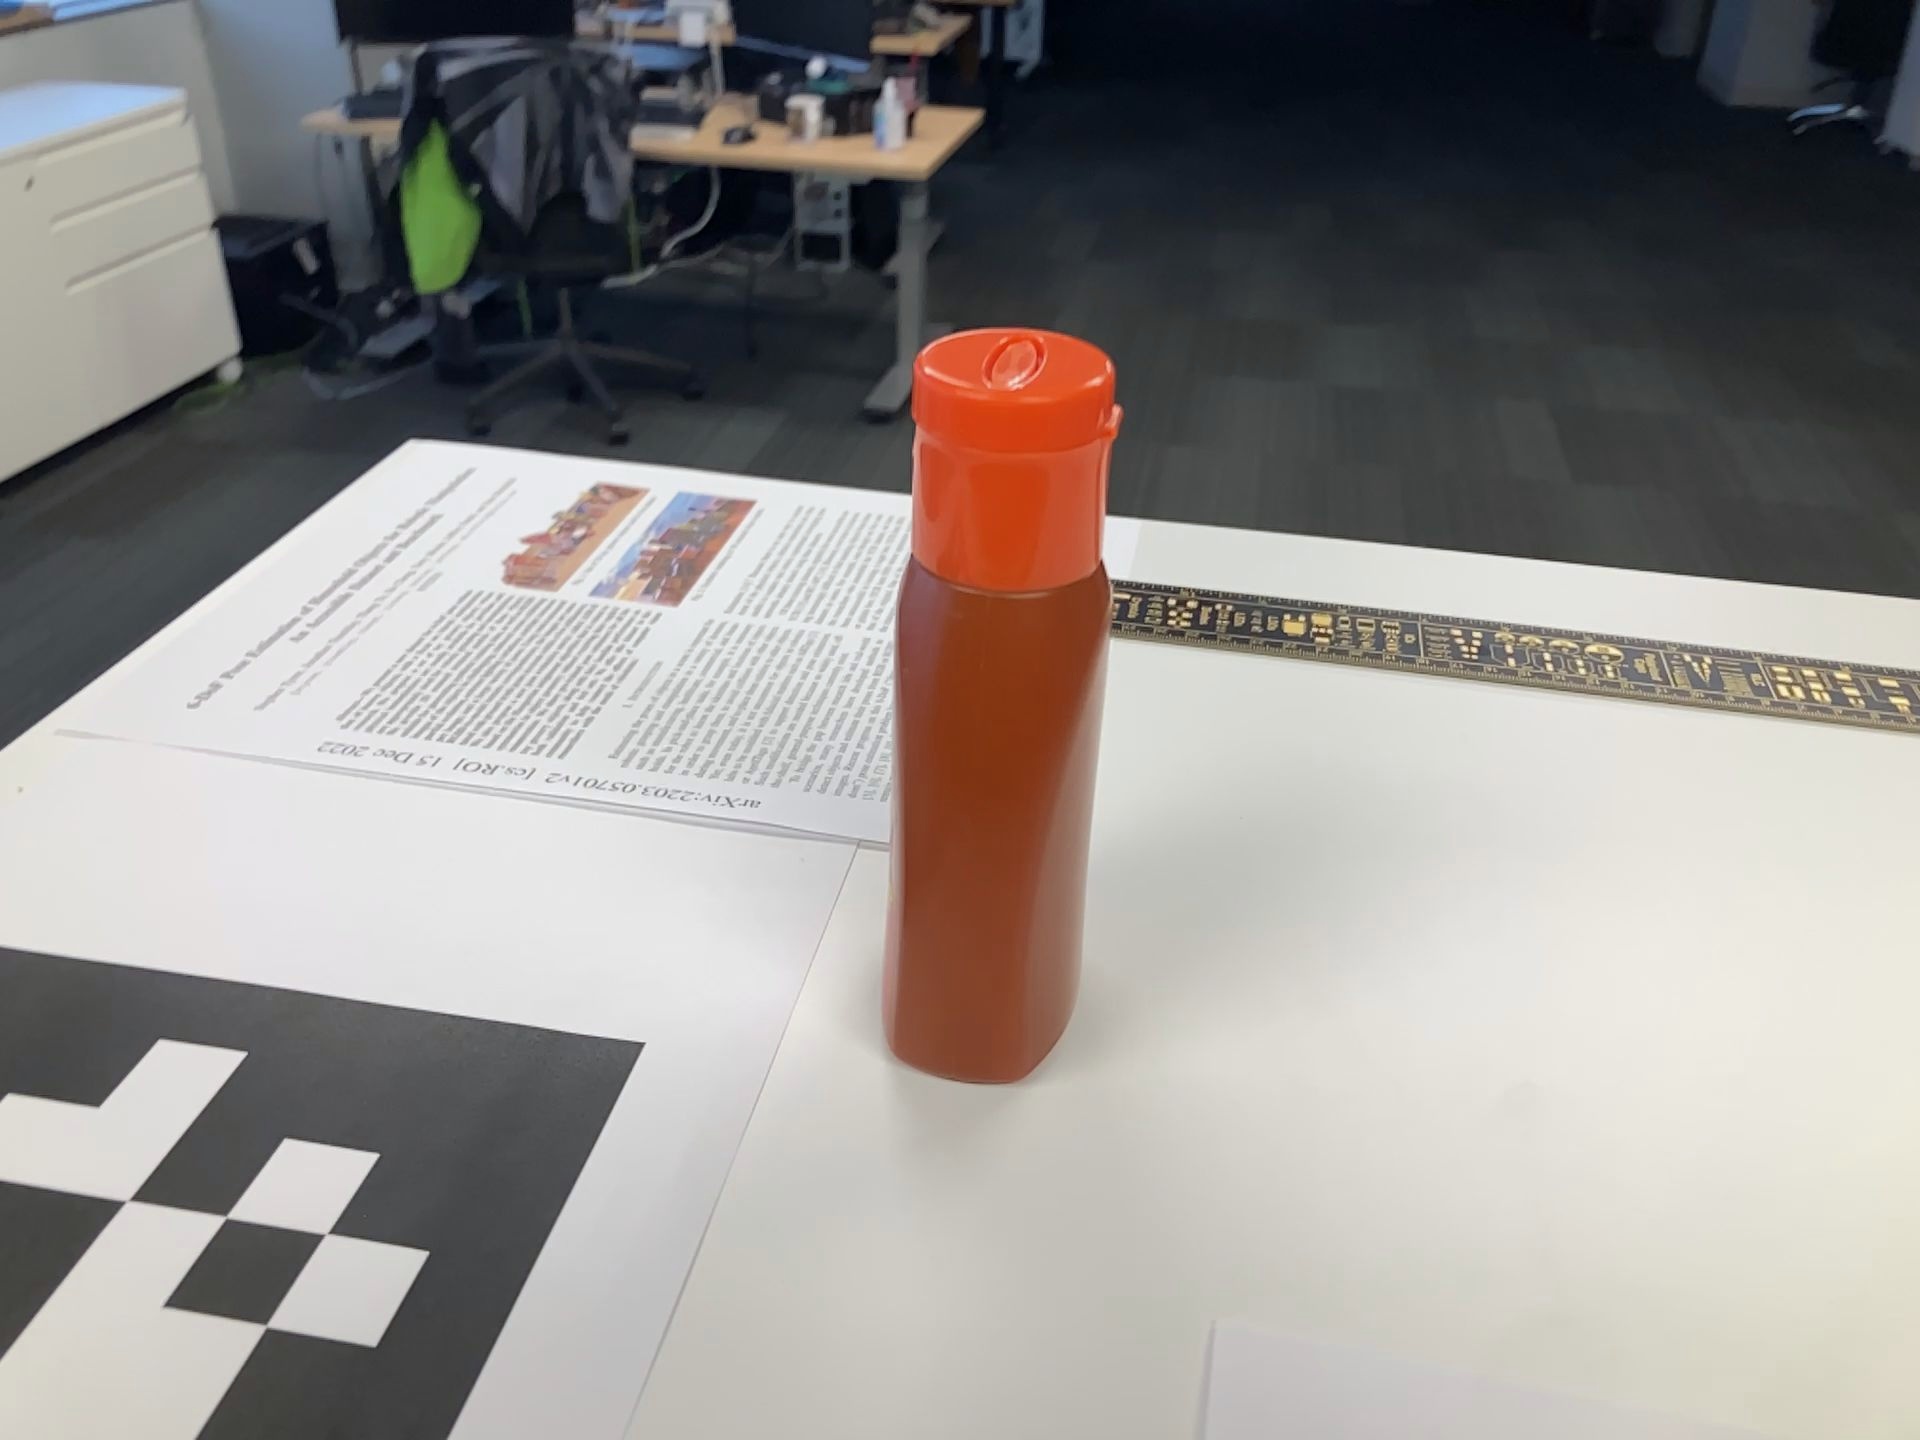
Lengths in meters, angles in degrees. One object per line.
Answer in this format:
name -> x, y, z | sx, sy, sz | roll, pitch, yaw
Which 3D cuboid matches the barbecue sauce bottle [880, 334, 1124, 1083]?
barbecue sauce bottle -> 0.008, -0.001, 0.322 | 0.043, 0.148, 0.065 | 9, 32, 9
